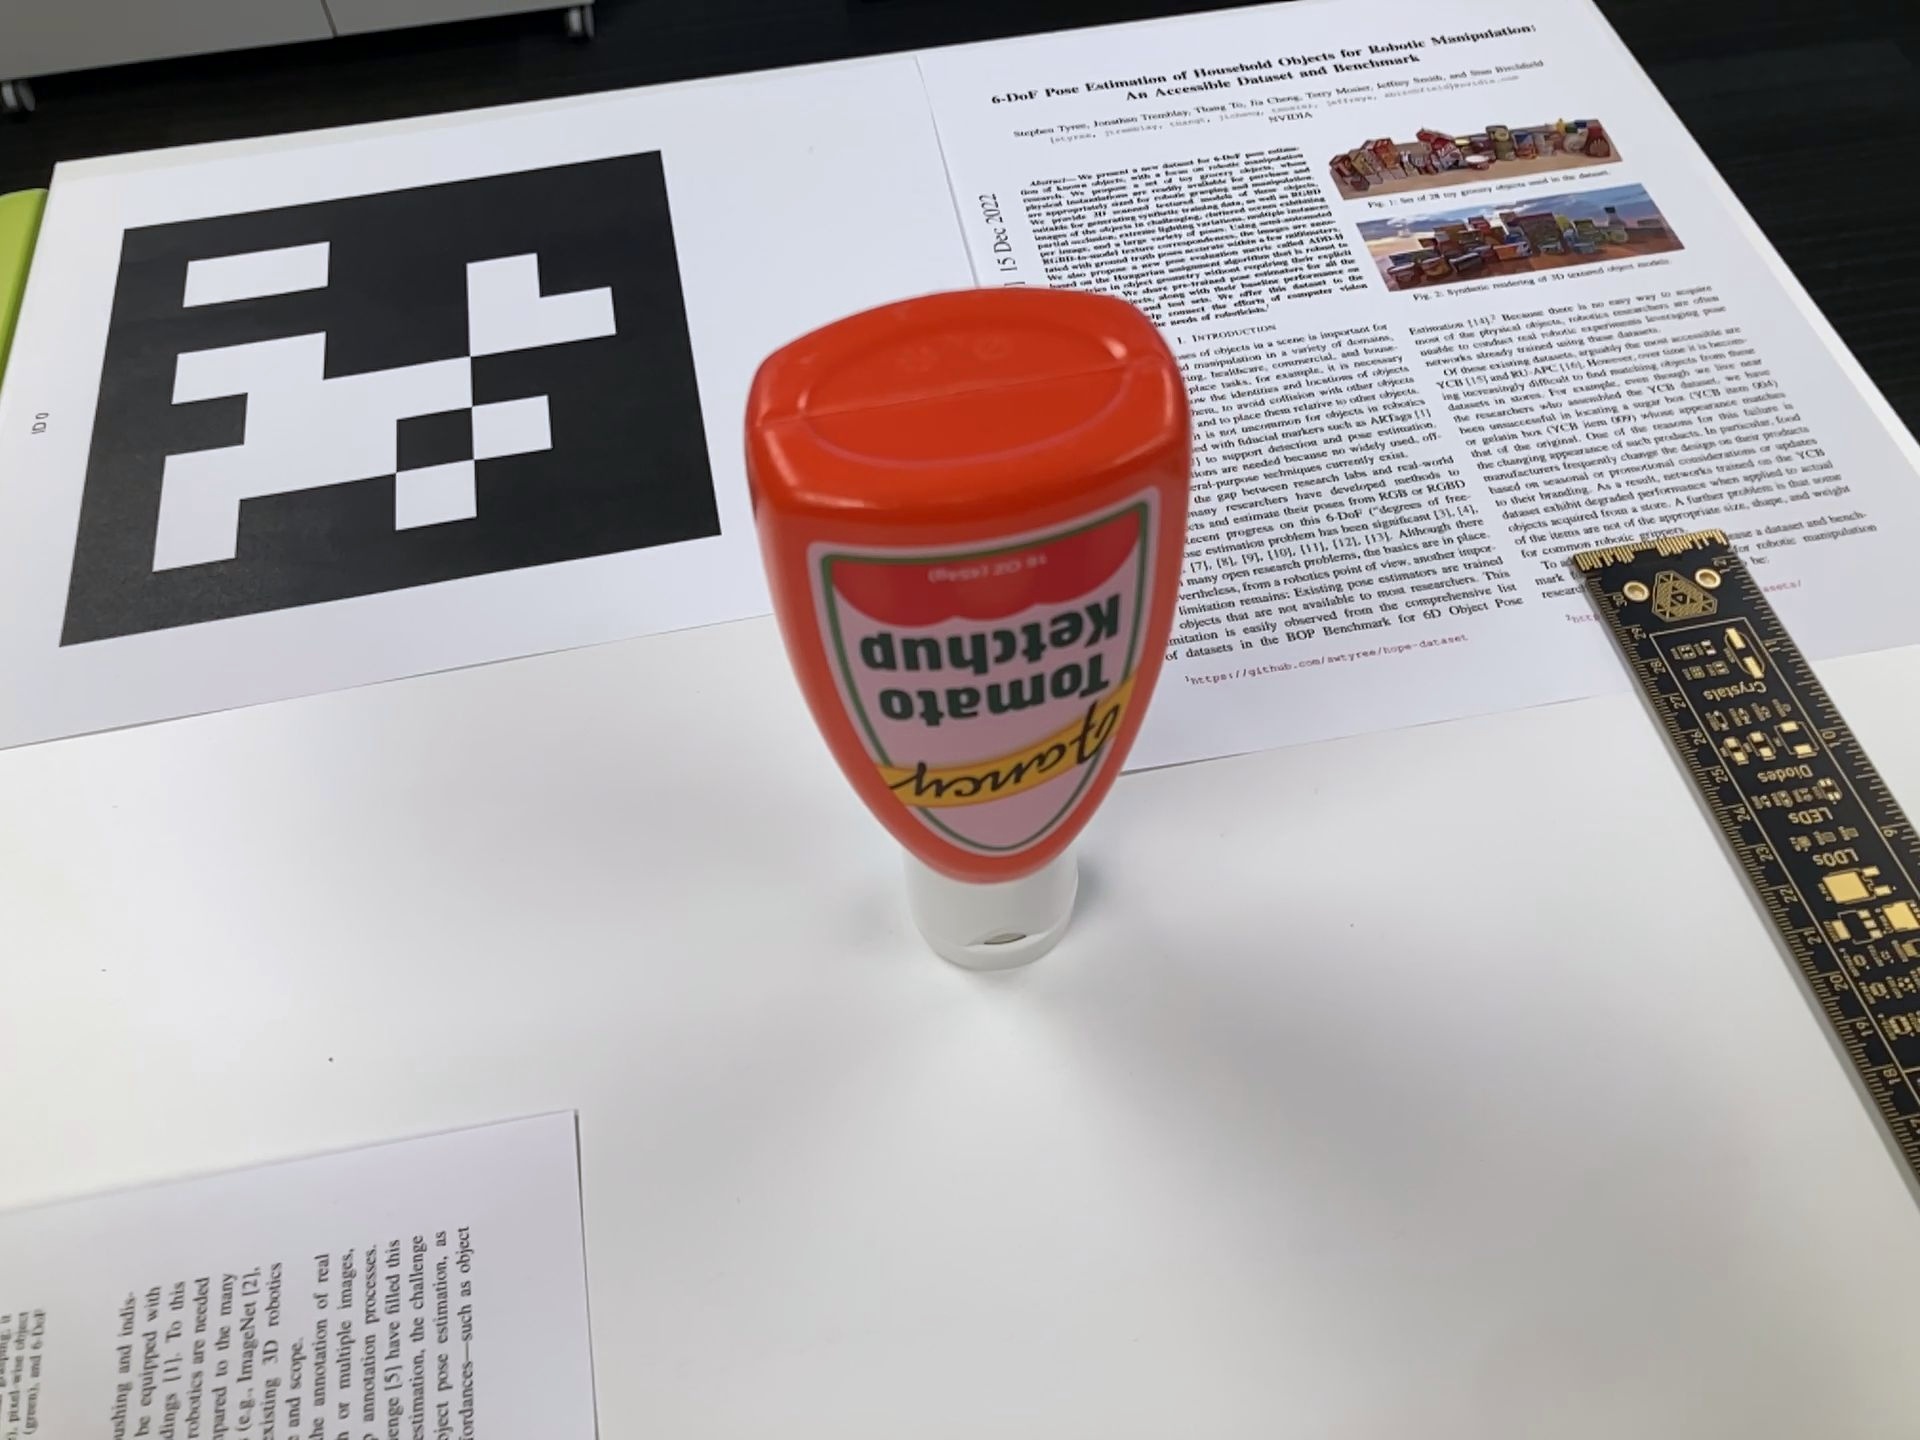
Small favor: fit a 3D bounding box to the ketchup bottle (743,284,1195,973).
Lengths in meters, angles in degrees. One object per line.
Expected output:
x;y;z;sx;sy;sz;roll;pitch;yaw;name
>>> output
0.004;-0.005;0.276;0.065;0.149;0.043;-10;56;-4;ketchup bottle
